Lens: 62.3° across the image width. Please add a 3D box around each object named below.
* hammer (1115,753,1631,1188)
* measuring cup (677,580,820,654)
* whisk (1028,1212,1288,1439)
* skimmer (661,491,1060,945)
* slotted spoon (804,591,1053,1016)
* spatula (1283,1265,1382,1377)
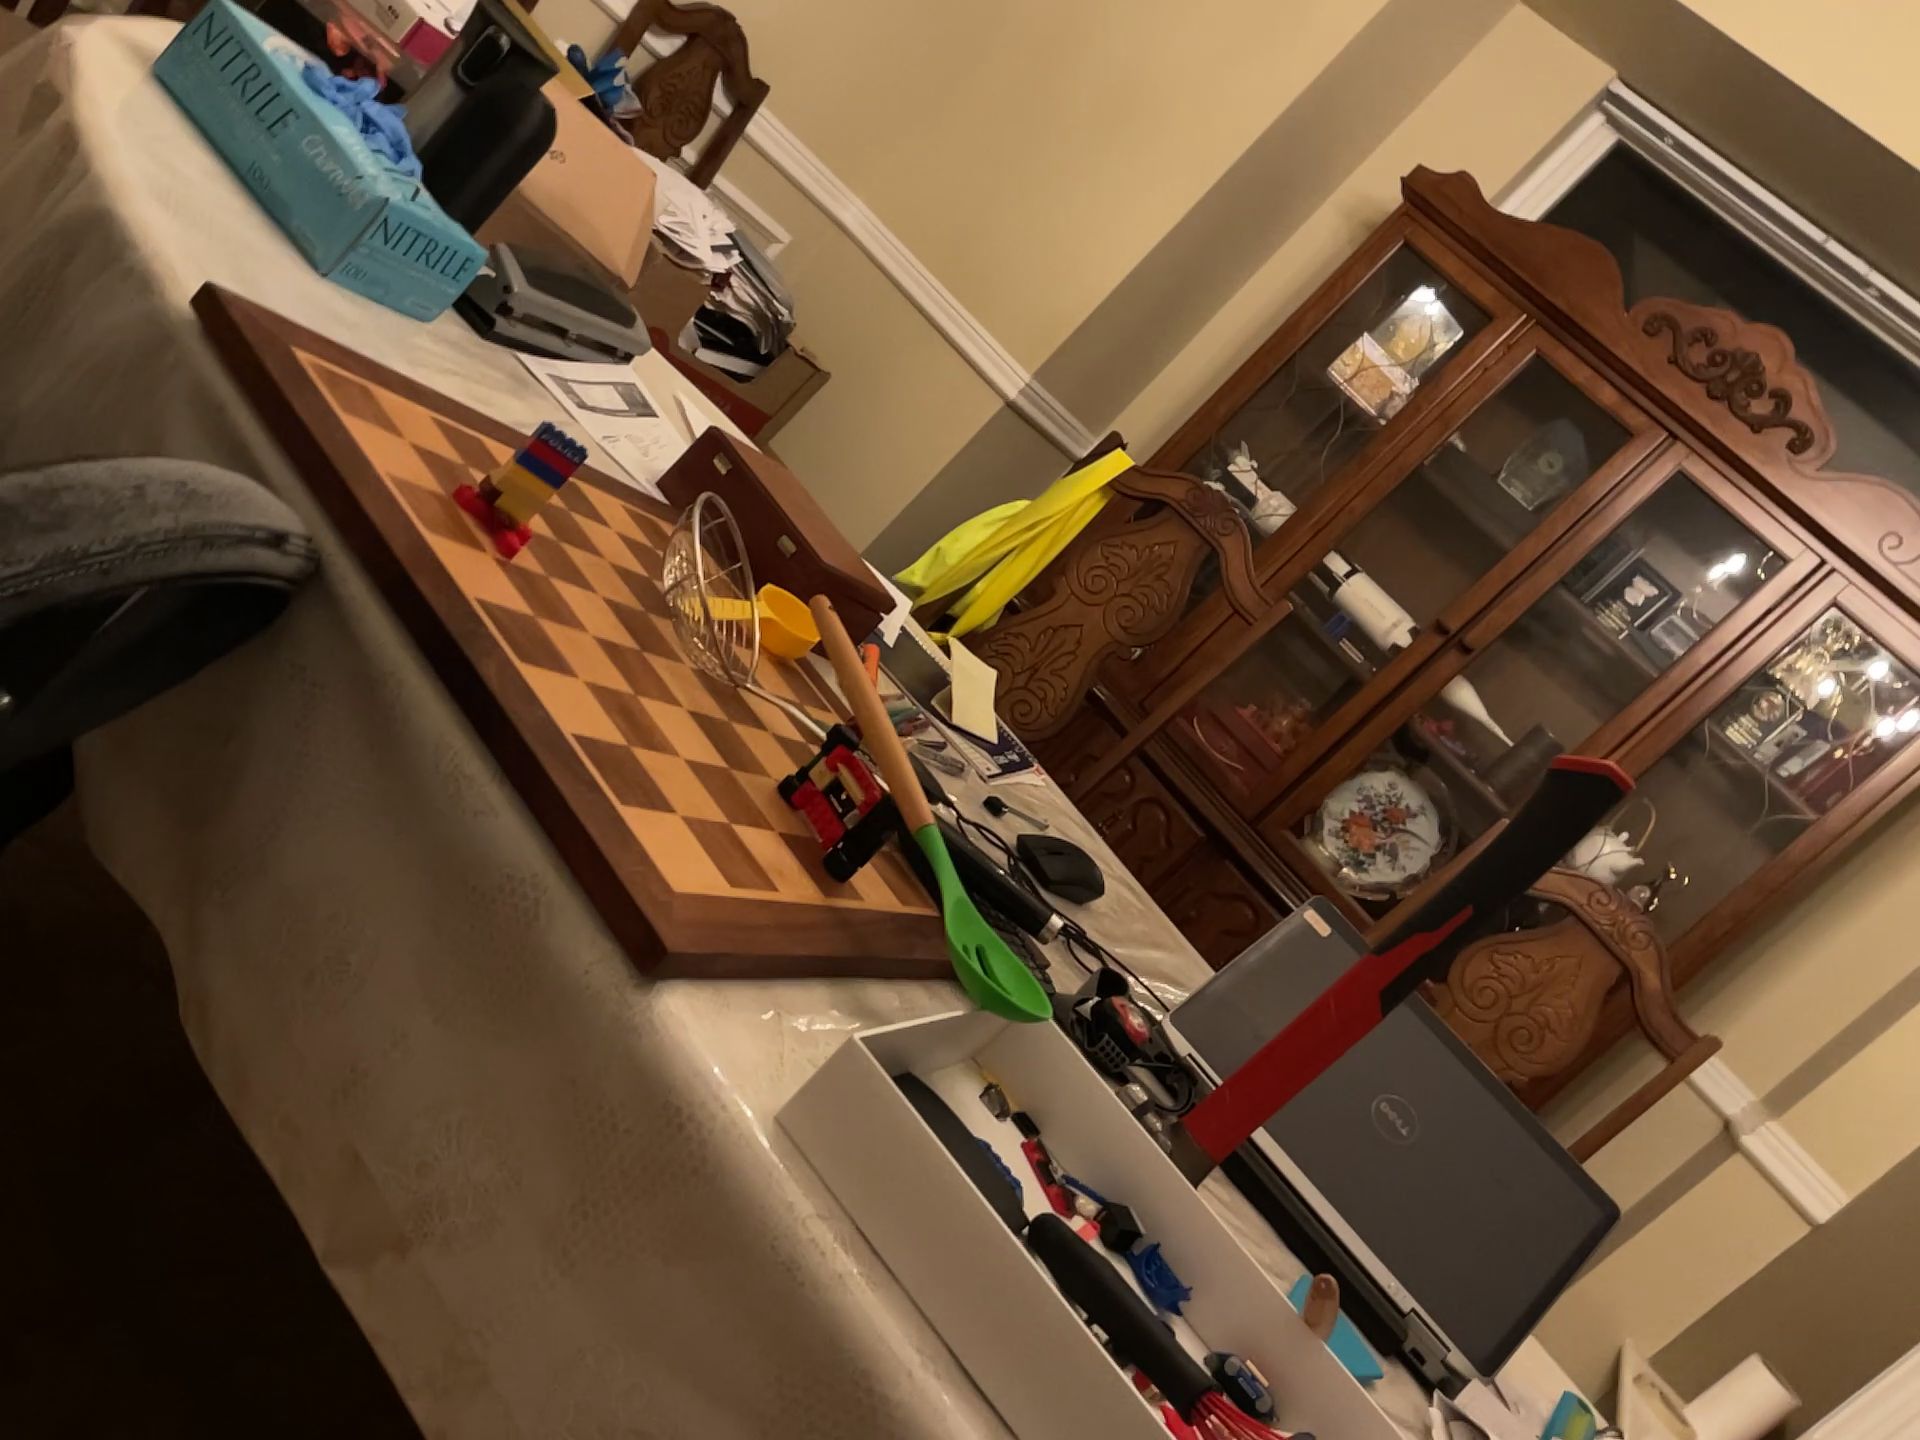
[{"bbox_3d":[0.265,0.173,0.976,0.143,0.386,0.038,50,12,25],"label":"hammer"},{"bbox_3d":[-0.162,-0.076,1.170,0.062,0.029,0.156,53,25,21],"label":"measuring cup"},{"bbox_3d":[0.118,0.314,0.700,0.296,0.073,0.073,37,-18,49],"label":"whisk"},{"bbox_3d":[-0.058,0.001,1.046,0.363,0.090,0.127,41,9,0],"label":"skimmer"},{"bbox_3d":[-0.030,0.043,0.927,0.070,0.031,0.314,26,31,-54],"label":"slotted spoon"},{"bbox_3d":[0.213,0.342,0.924,0.082,0.044,0.317,52,-8,27],"label":"spatula"}]
